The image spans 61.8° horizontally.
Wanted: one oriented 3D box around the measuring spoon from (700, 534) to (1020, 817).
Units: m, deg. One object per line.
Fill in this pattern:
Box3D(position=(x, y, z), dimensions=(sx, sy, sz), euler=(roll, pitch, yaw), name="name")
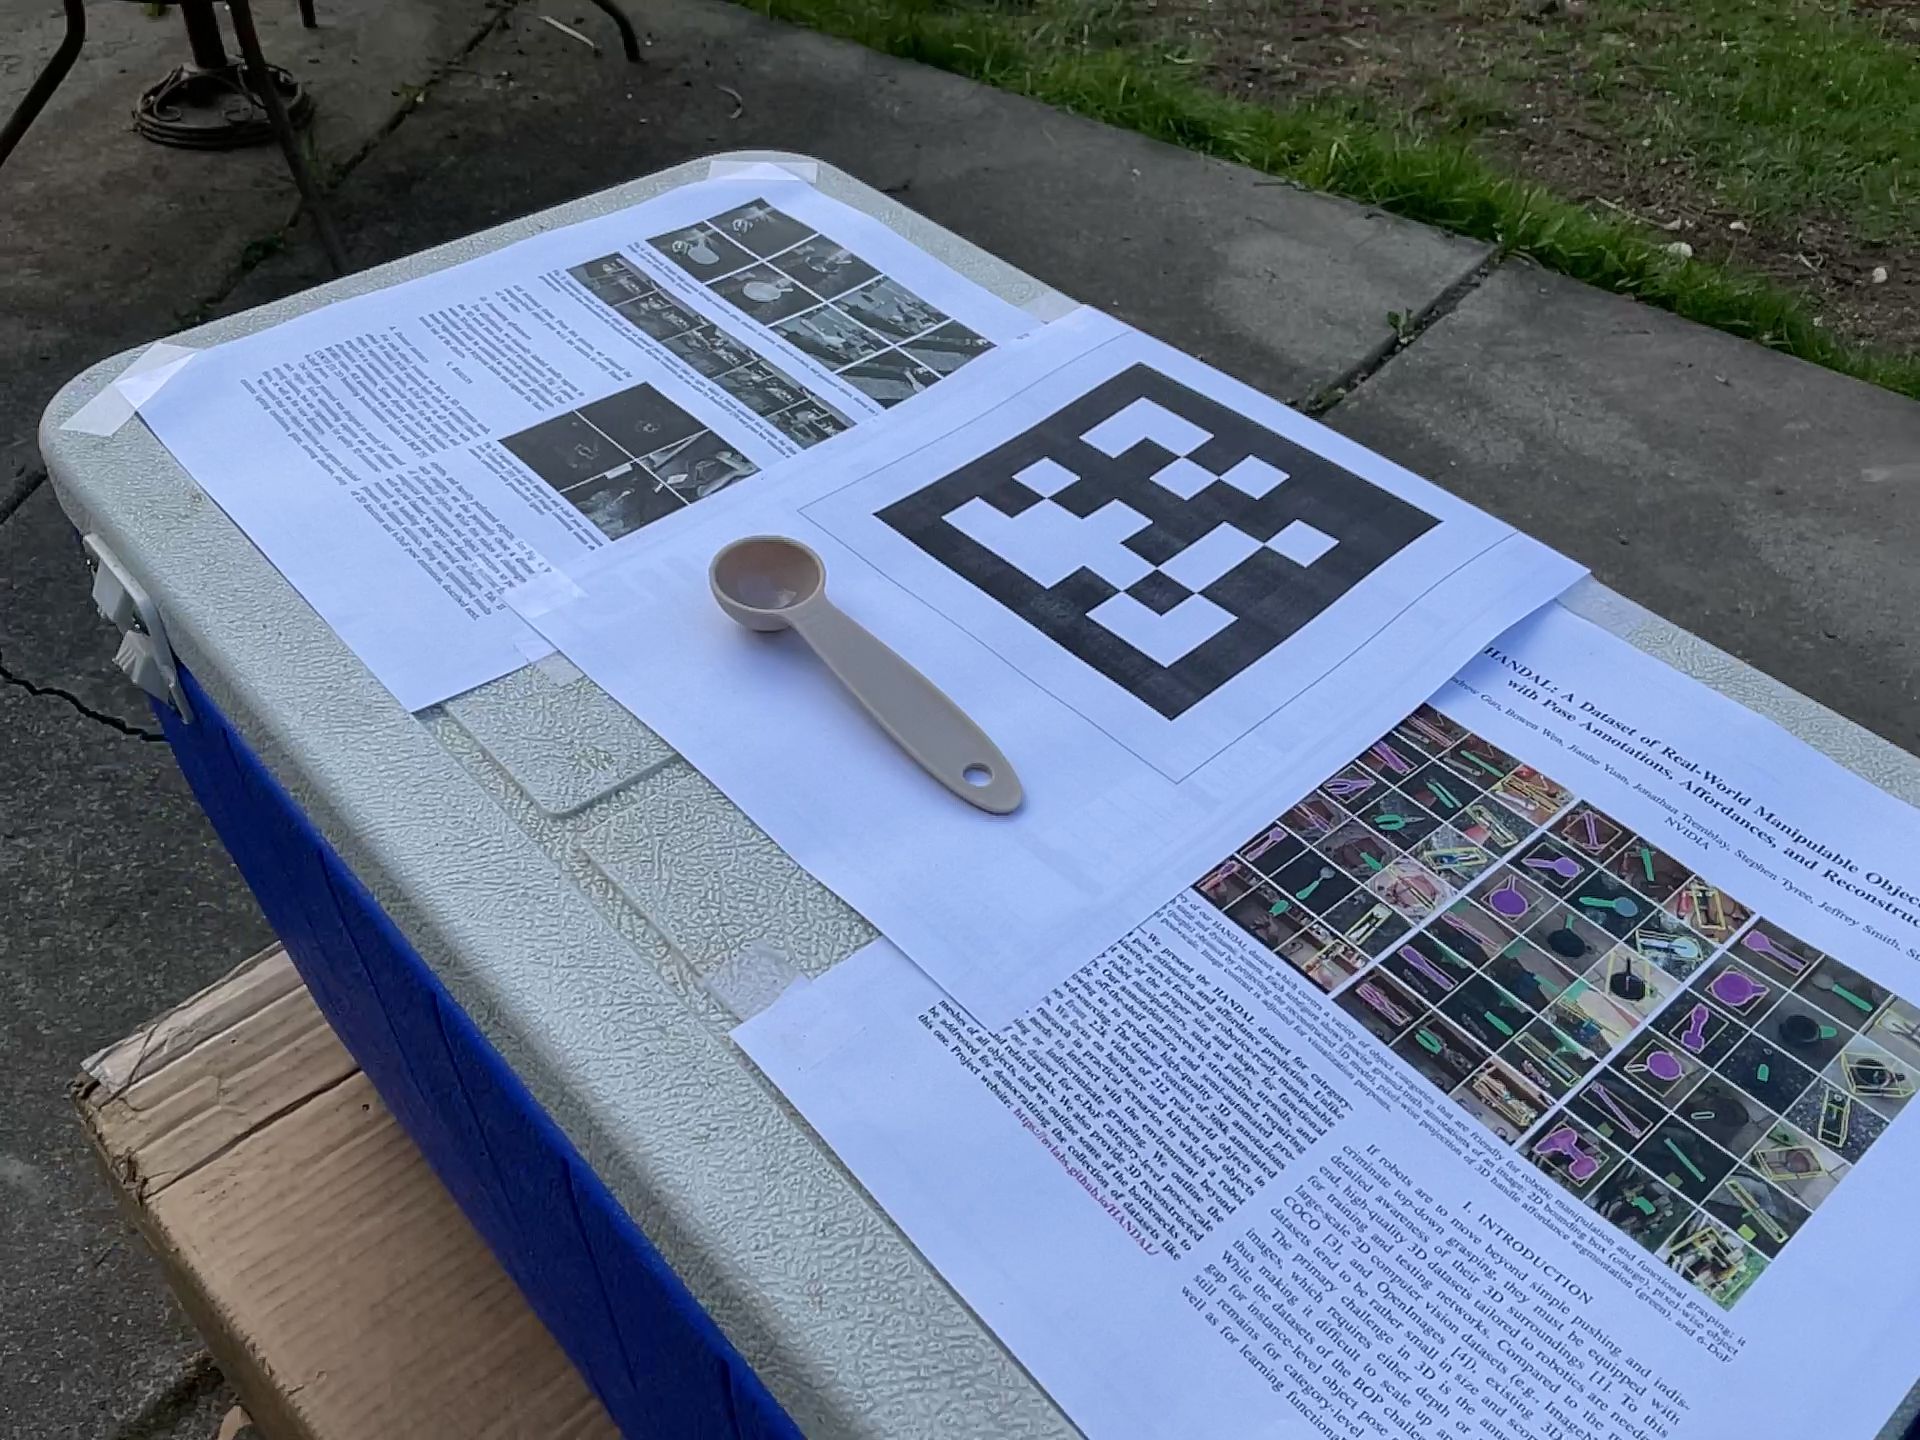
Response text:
Box3D(position=(-0.028, -0.010, 0.446), dimensions=(0.034, 0.018, 0.124), euler=(-30, 59, -31), name="measuring spoon")
